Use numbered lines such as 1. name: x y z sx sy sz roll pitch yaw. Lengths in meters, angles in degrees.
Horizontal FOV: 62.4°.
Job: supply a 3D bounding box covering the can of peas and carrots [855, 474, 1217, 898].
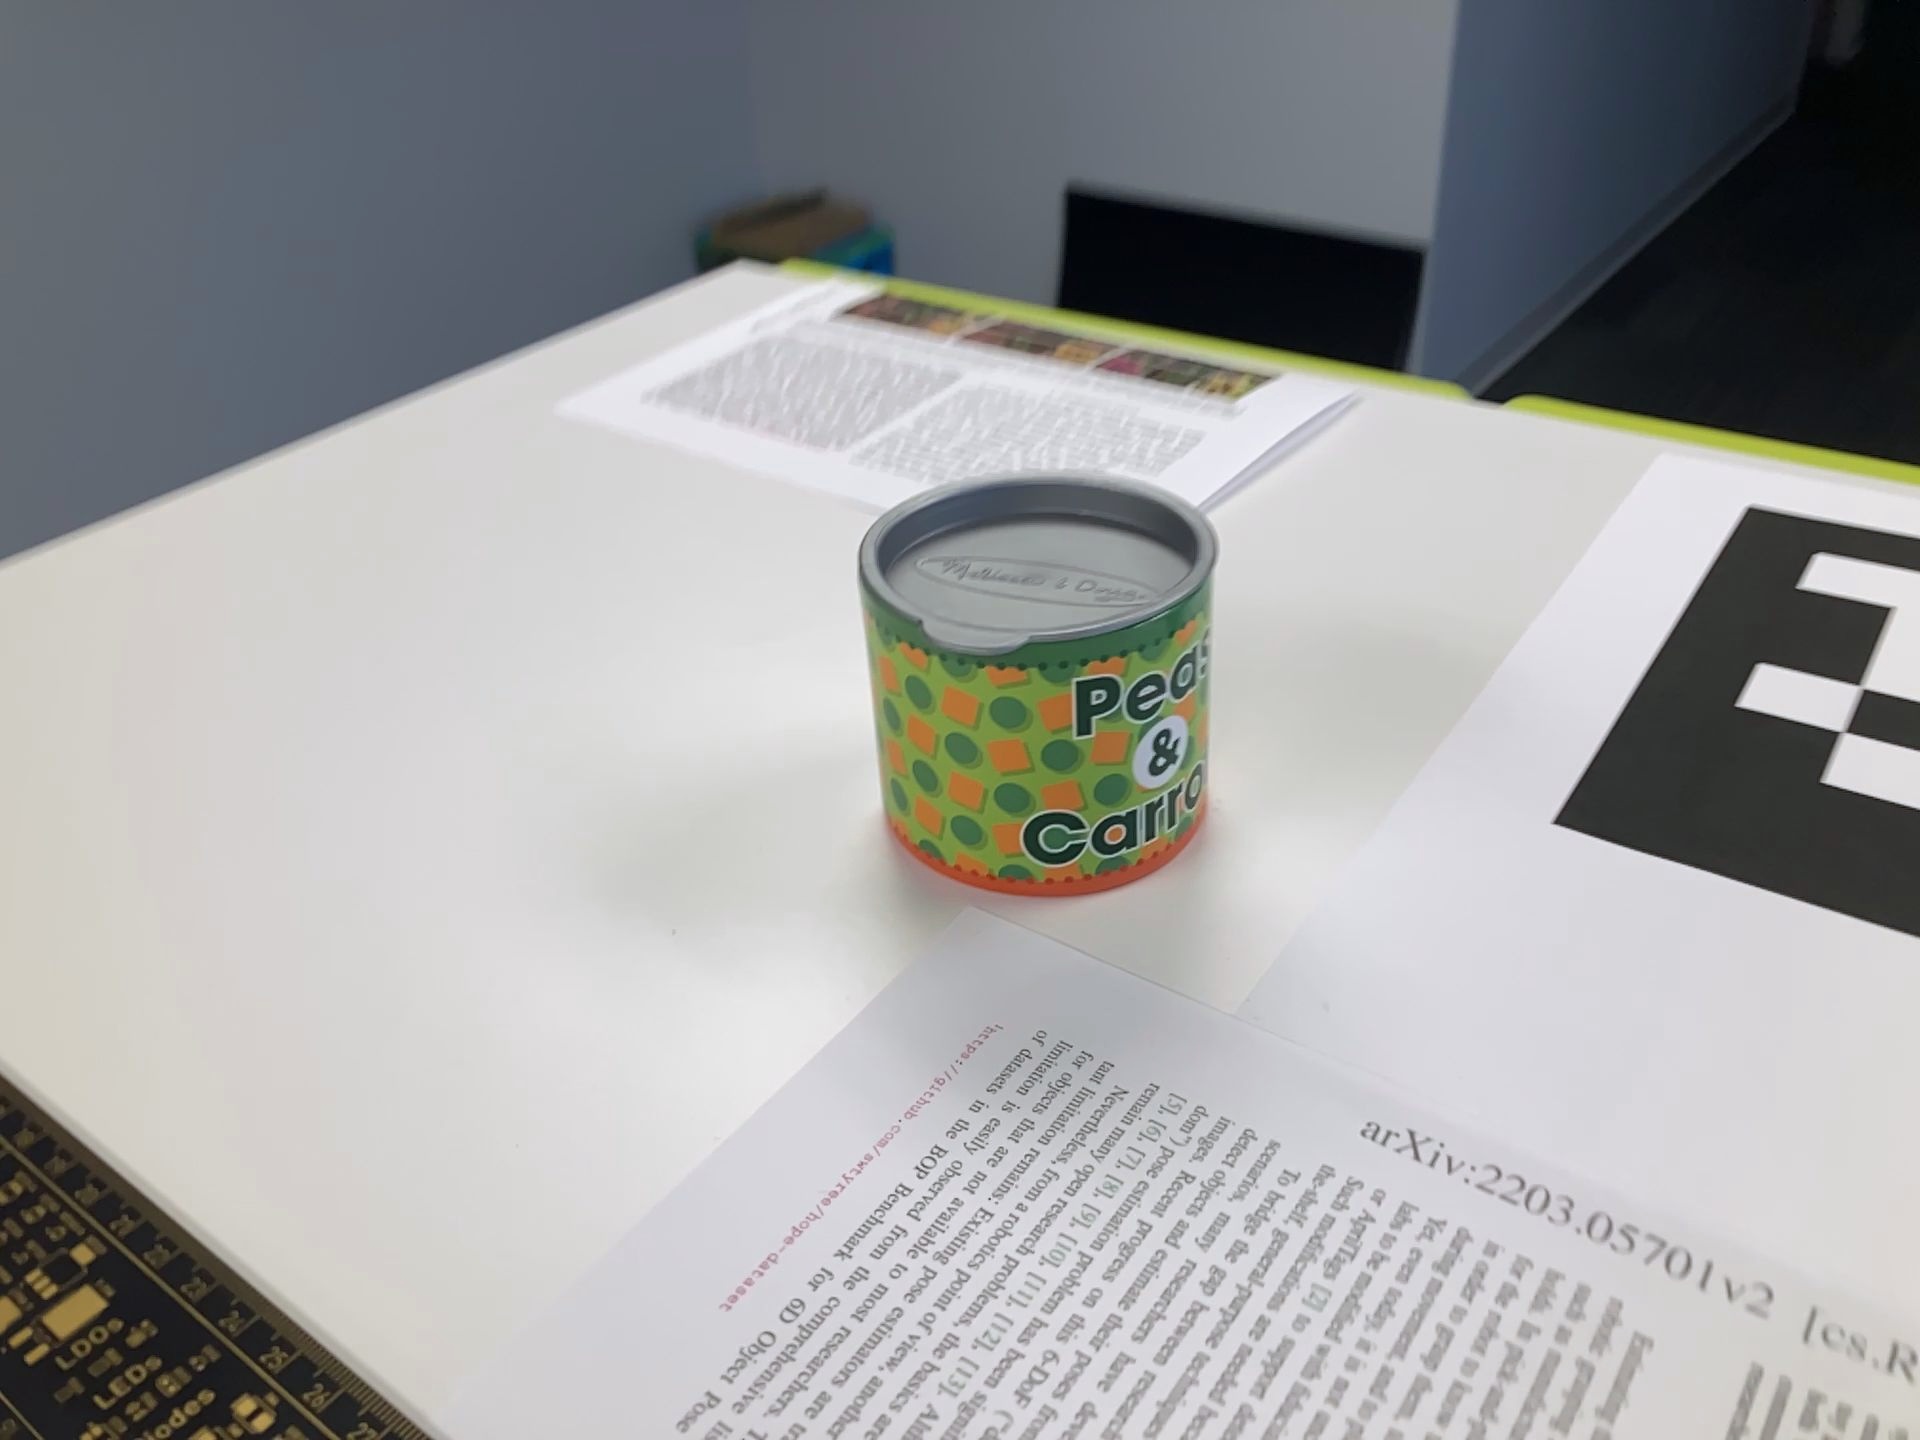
1. can of peas and carrots: 0.017 -0.007 0.304 0.071 0.059 0.071 -3 33 2
